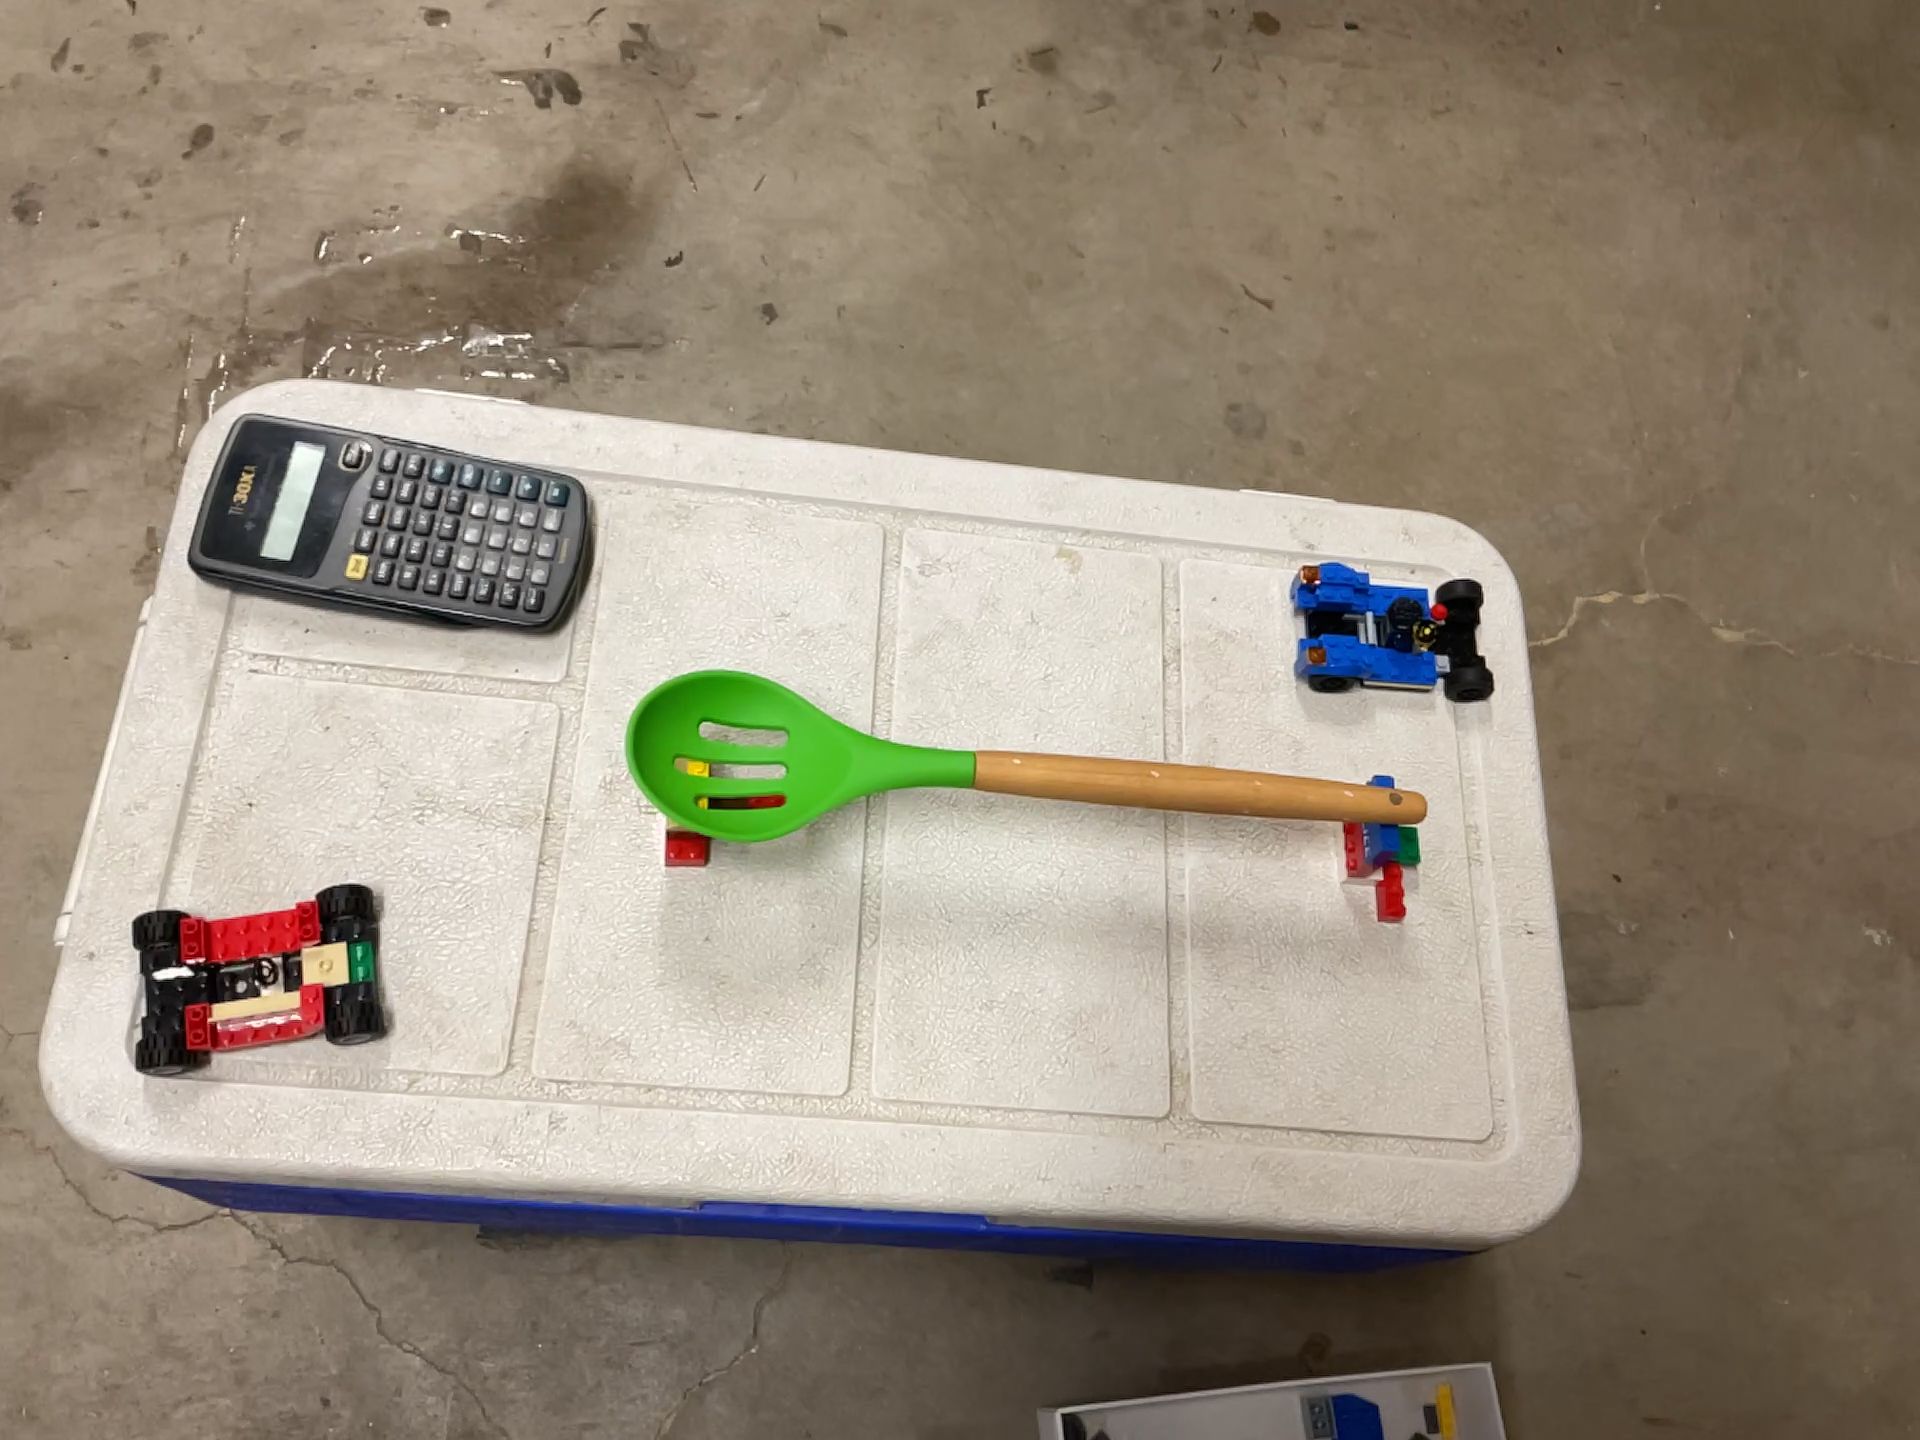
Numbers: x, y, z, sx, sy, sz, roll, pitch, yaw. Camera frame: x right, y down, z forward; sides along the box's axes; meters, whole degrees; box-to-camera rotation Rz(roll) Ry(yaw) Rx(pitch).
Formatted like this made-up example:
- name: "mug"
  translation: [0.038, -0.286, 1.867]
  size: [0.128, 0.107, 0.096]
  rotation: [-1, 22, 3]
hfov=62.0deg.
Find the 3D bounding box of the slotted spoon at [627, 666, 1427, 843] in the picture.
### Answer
- name: "slotted spoon"
  translation: [0.031, 0.023, 0.618]
  size: [0.314, 0.031, 0.070]
  rotation: [5, 65, -9]
